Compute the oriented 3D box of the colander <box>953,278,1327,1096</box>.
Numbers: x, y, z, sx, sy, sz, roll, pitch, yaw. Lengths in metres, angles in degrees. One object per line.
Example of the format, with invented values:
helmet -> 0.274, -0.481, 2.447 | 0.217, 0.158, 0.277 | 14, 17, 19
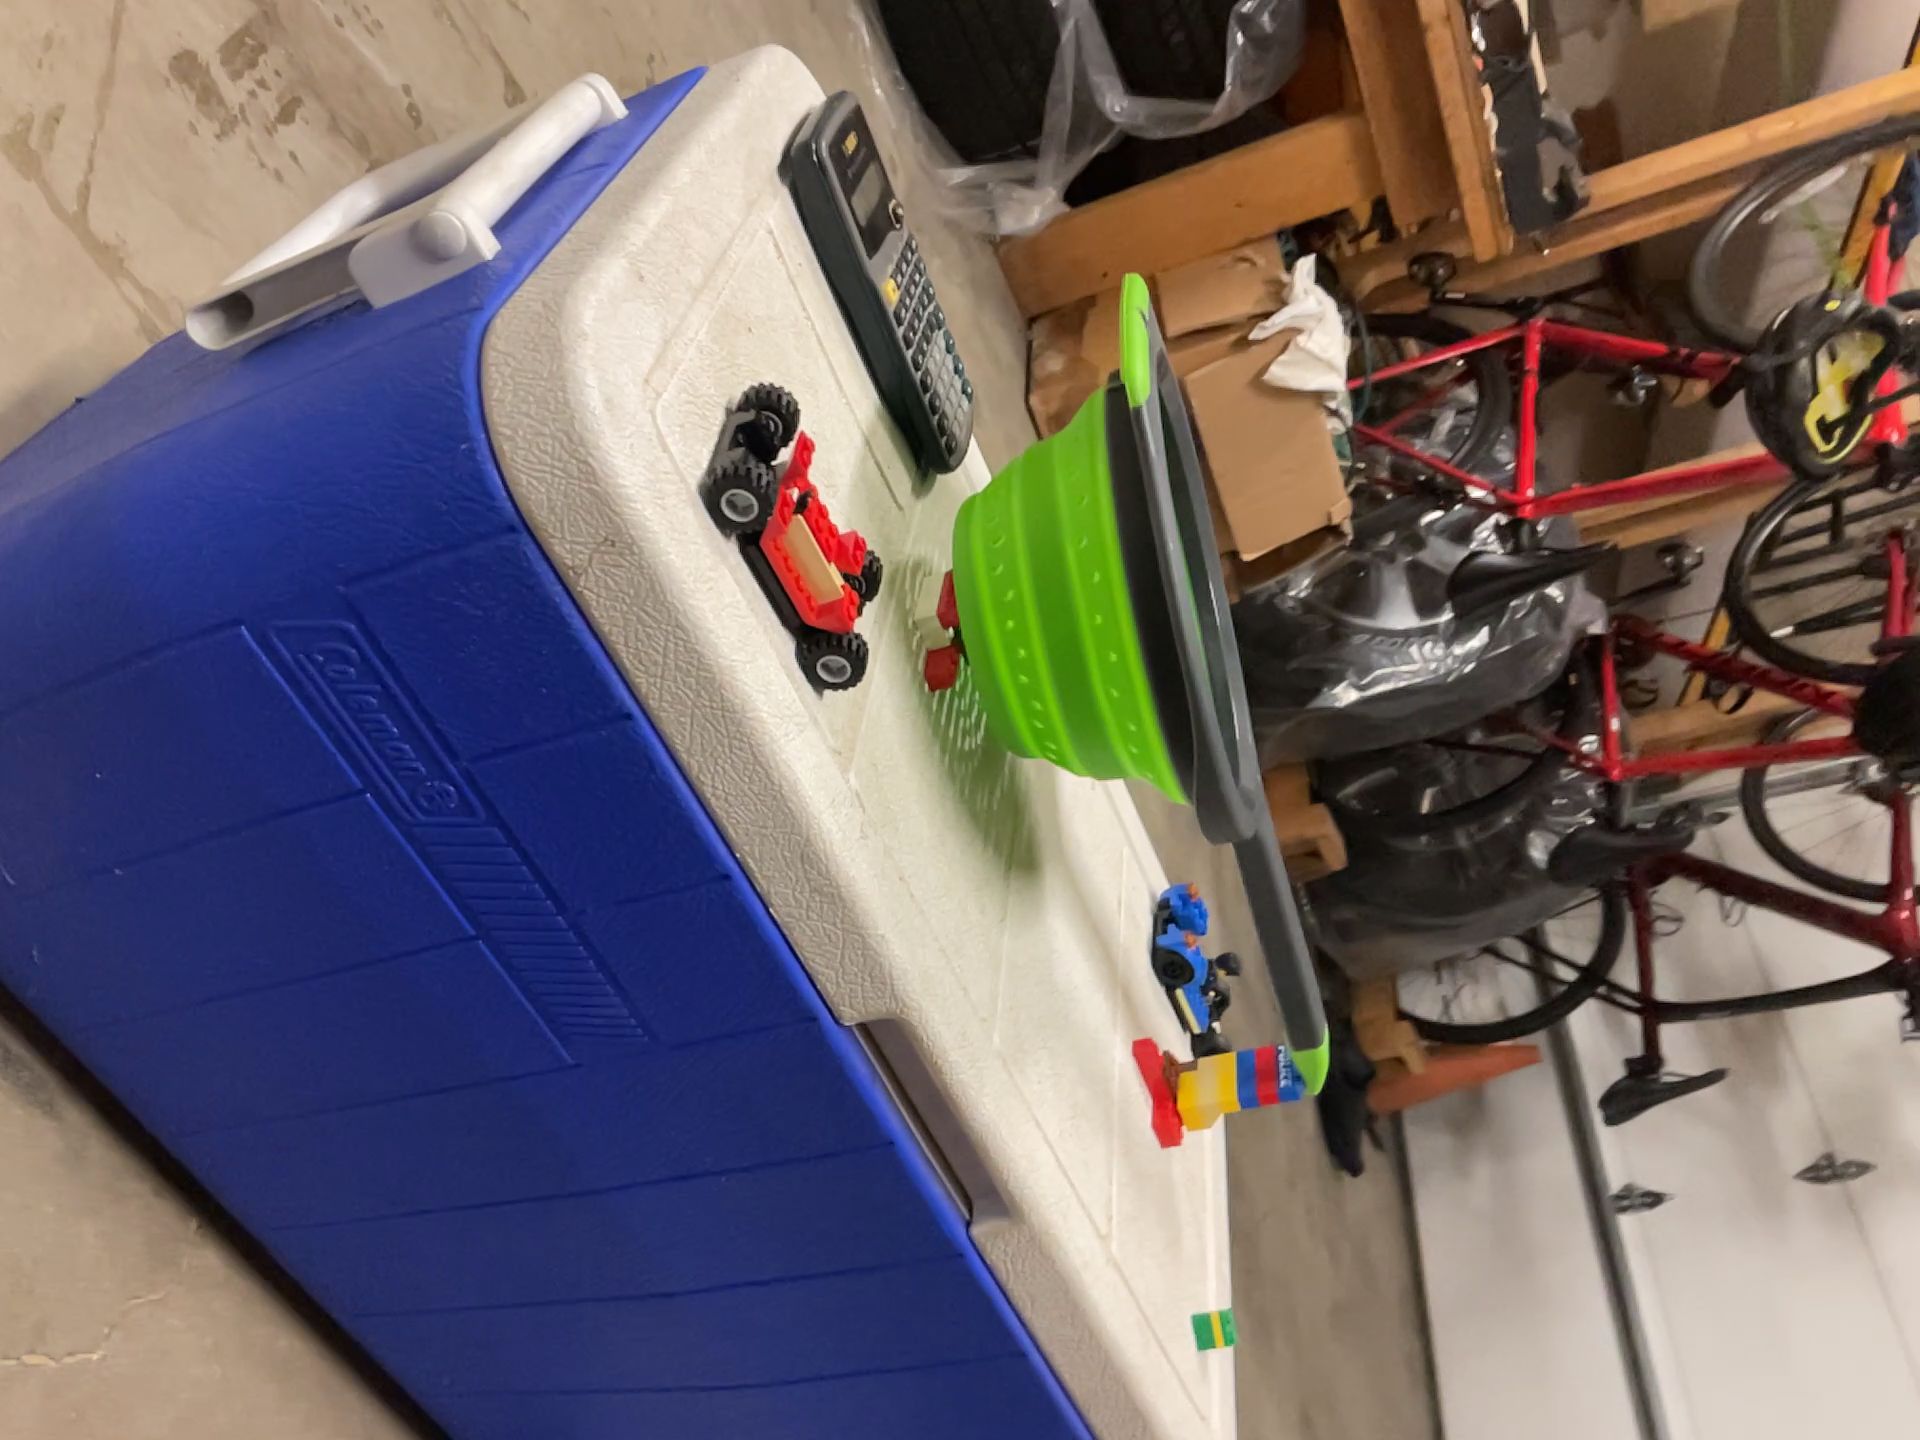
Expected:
colander -> 0.079, 0.021, 0.681 | 0.205, 0.094, 0.396 | -83, 157, -56
